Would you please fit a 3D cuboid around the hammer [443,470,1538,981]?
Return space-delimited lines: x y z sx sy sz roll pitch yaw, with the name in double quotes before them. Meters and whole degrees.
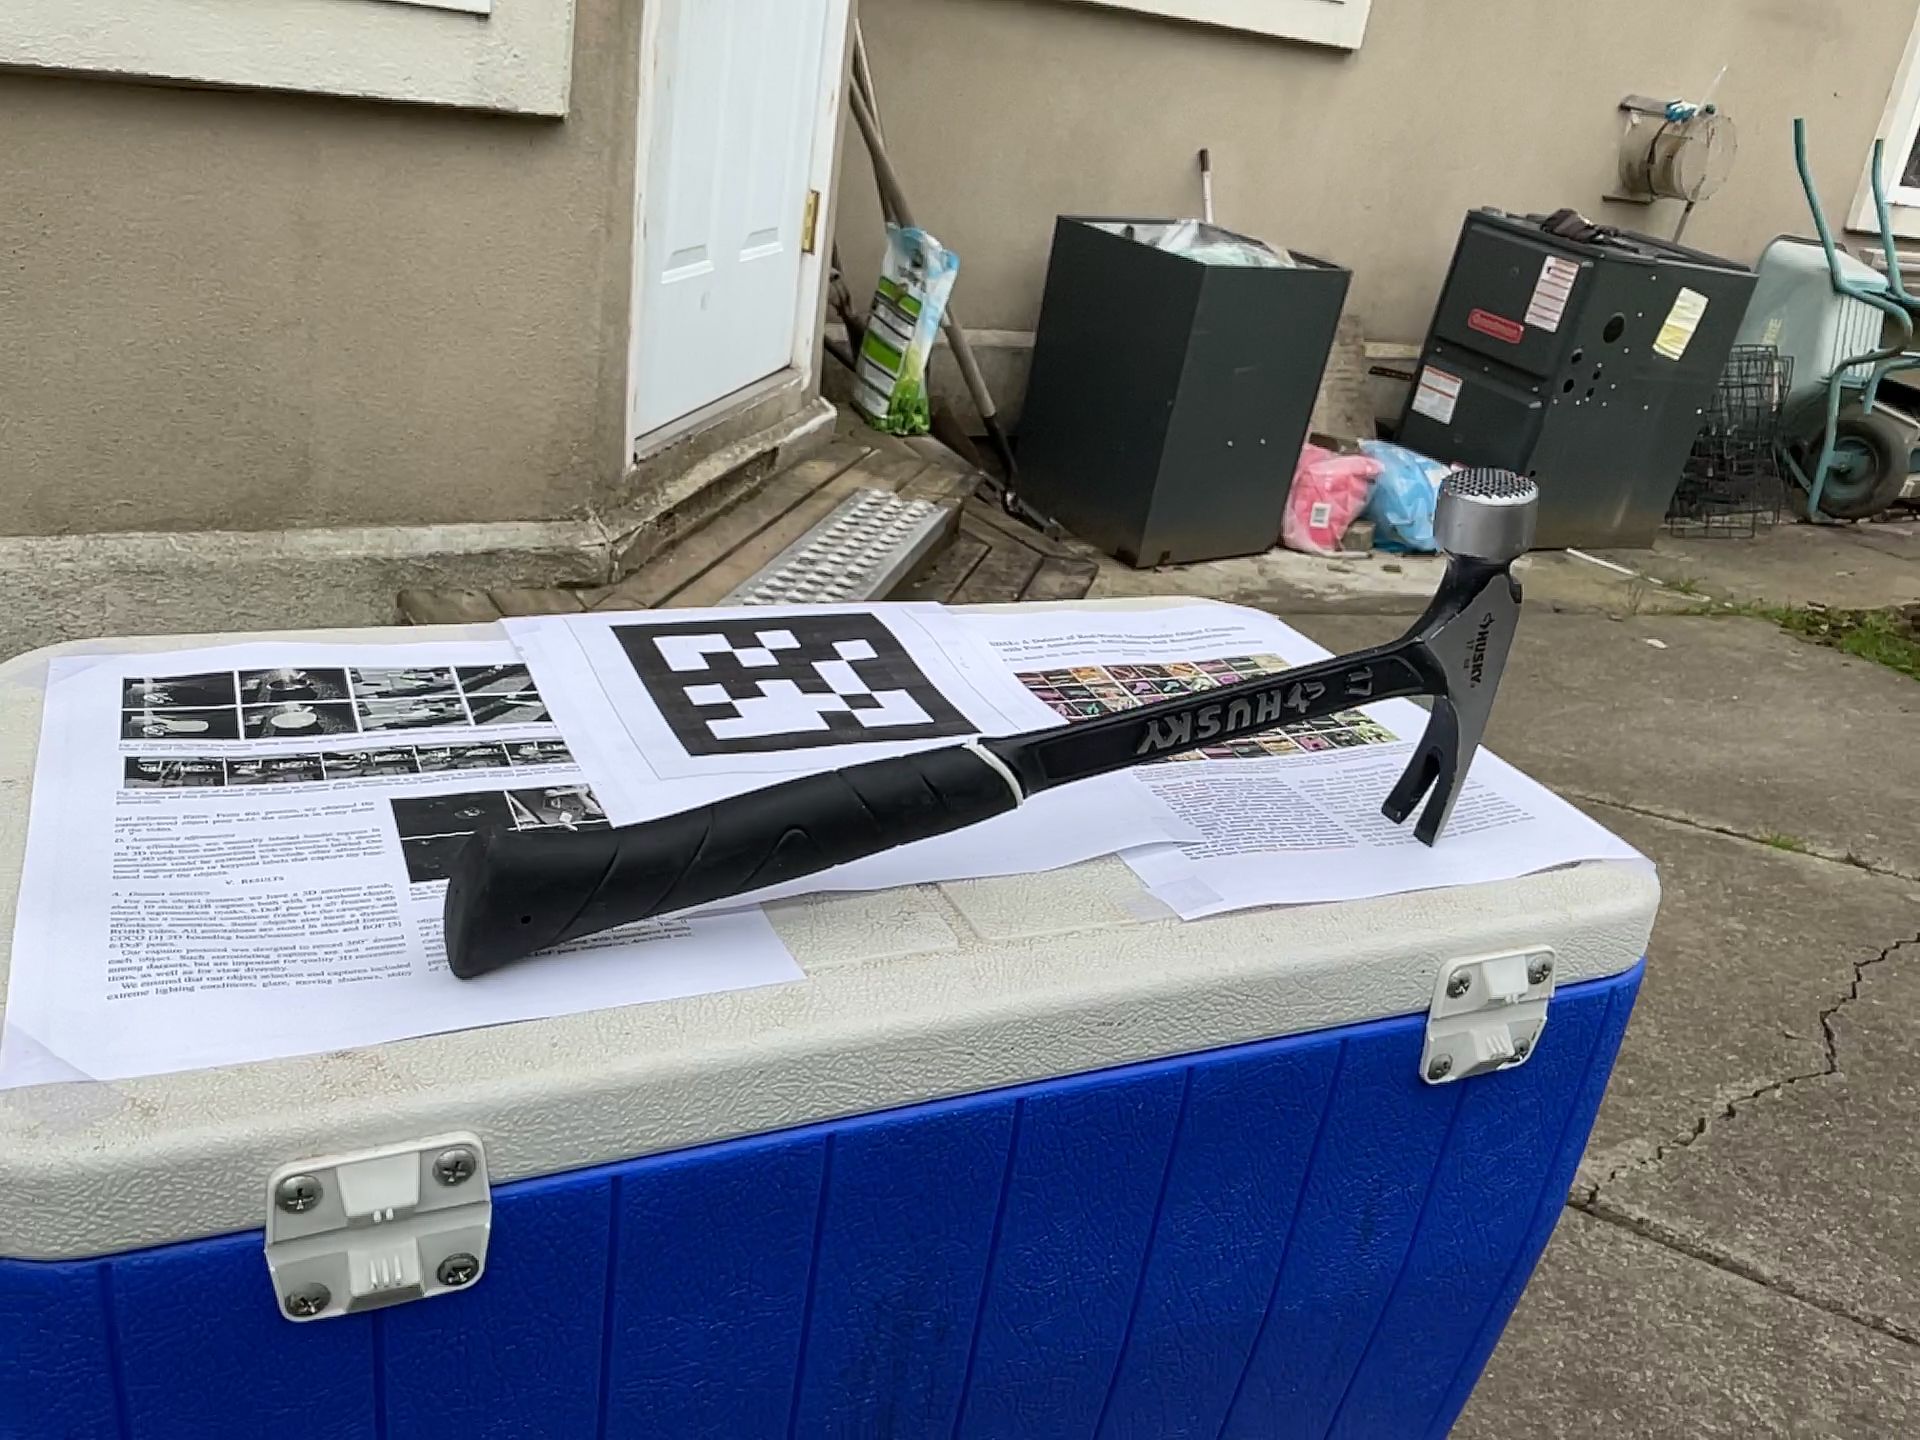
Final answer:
"hammer" 0.029 0.018 0.554 0.409 0.149 0.036 -14 31 -22
